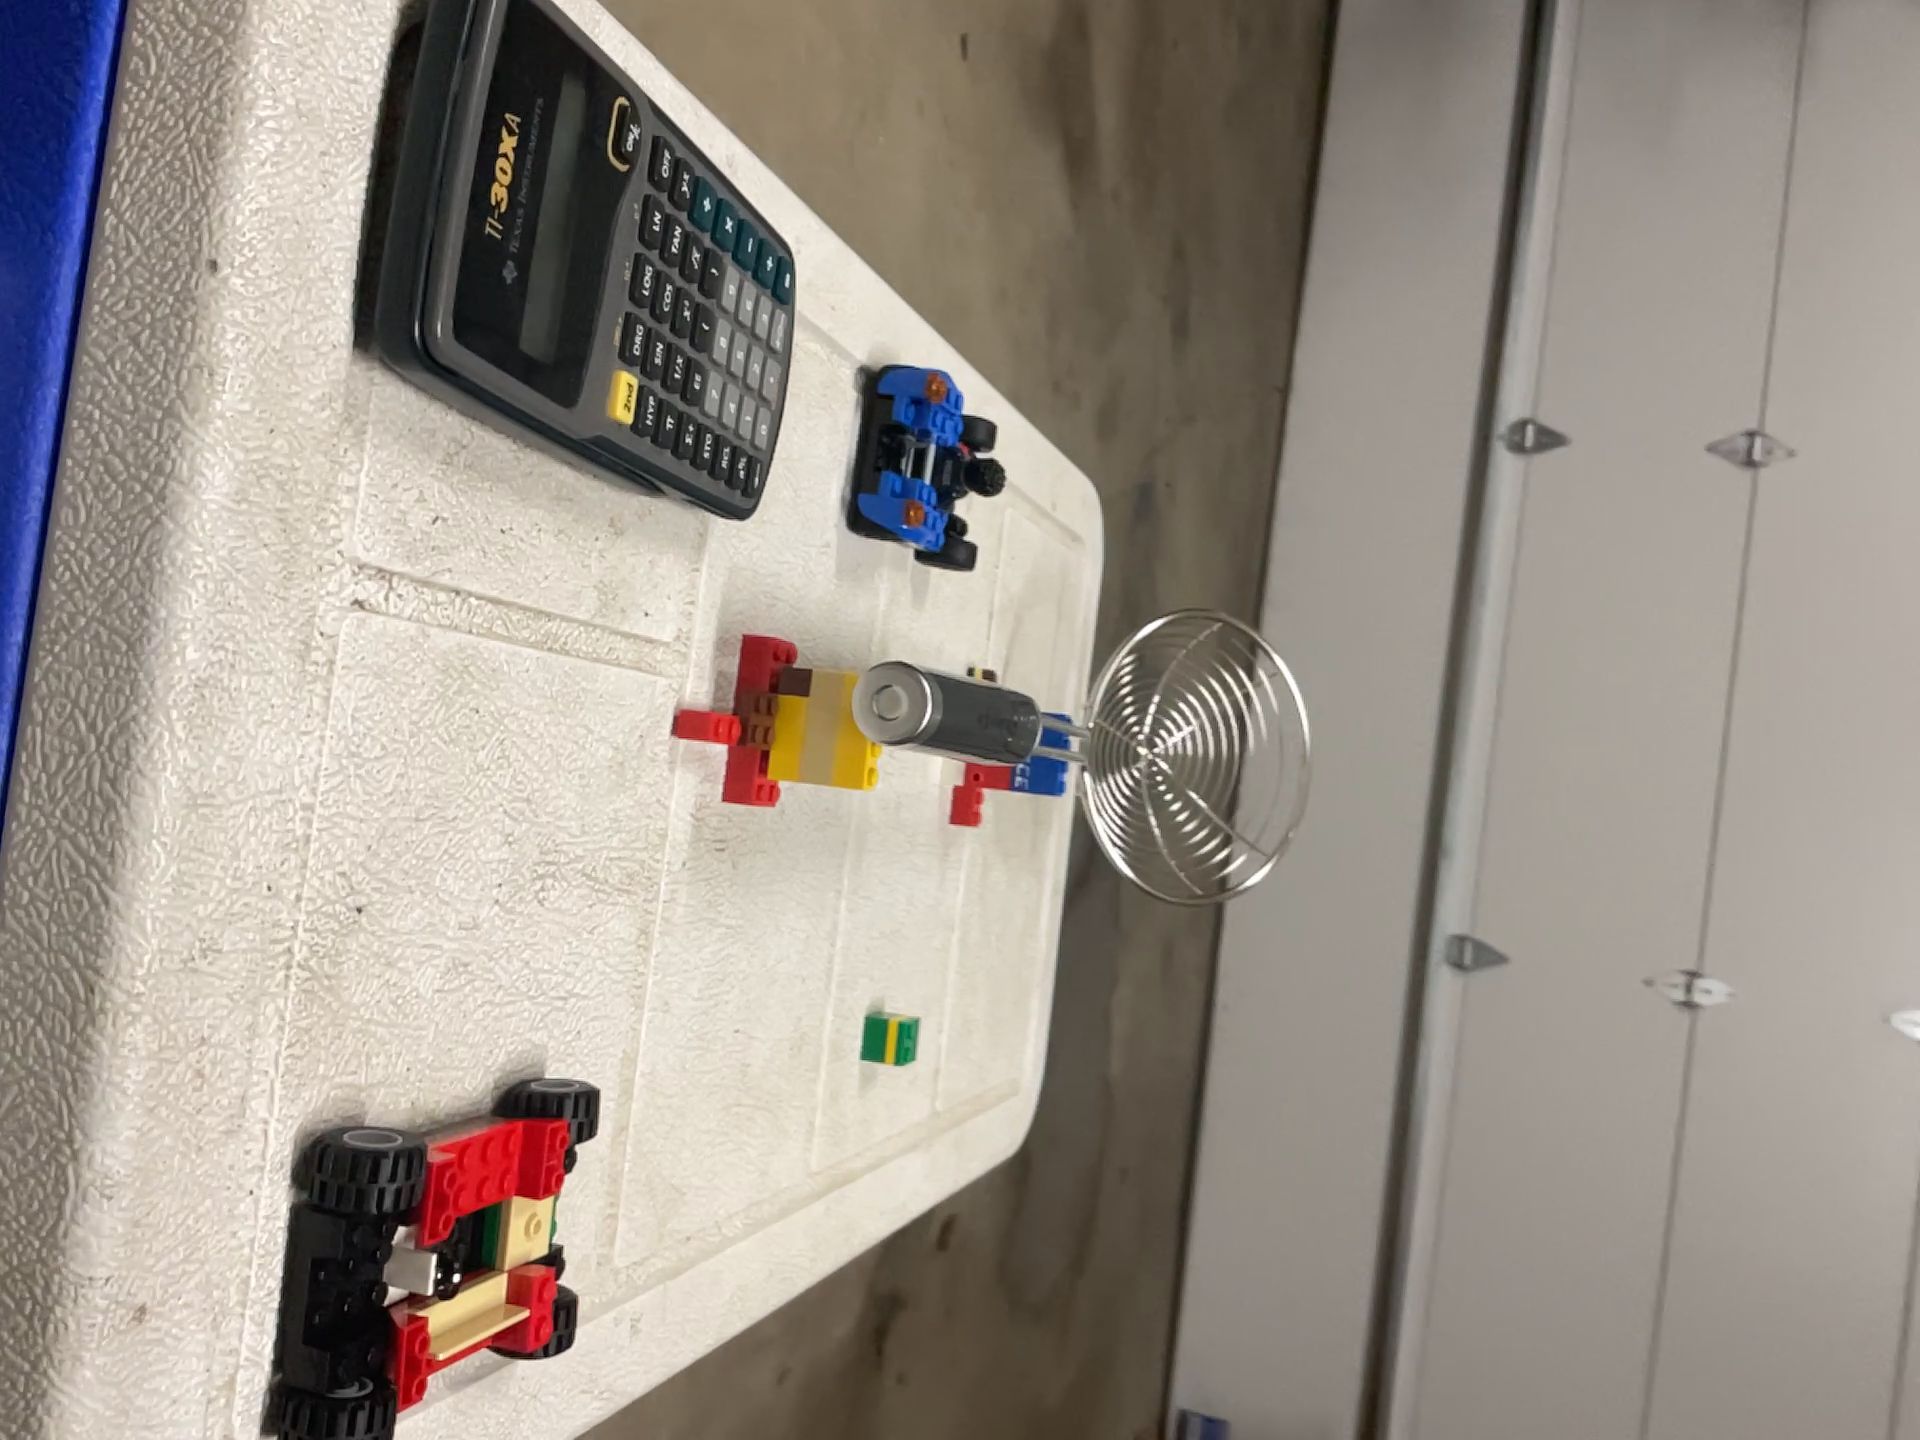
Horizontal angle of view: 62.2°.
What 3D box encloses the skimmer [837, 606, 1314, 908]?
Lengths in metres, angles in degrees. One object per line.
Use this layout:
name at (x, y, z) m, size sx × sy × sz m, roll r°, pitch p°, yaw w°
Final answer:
skimmer at (0.062, 0.007, 0.553) m, size 0.363 × 0.090 × 0.127 m, roll 12°, pitch 82°, yaw -72°
